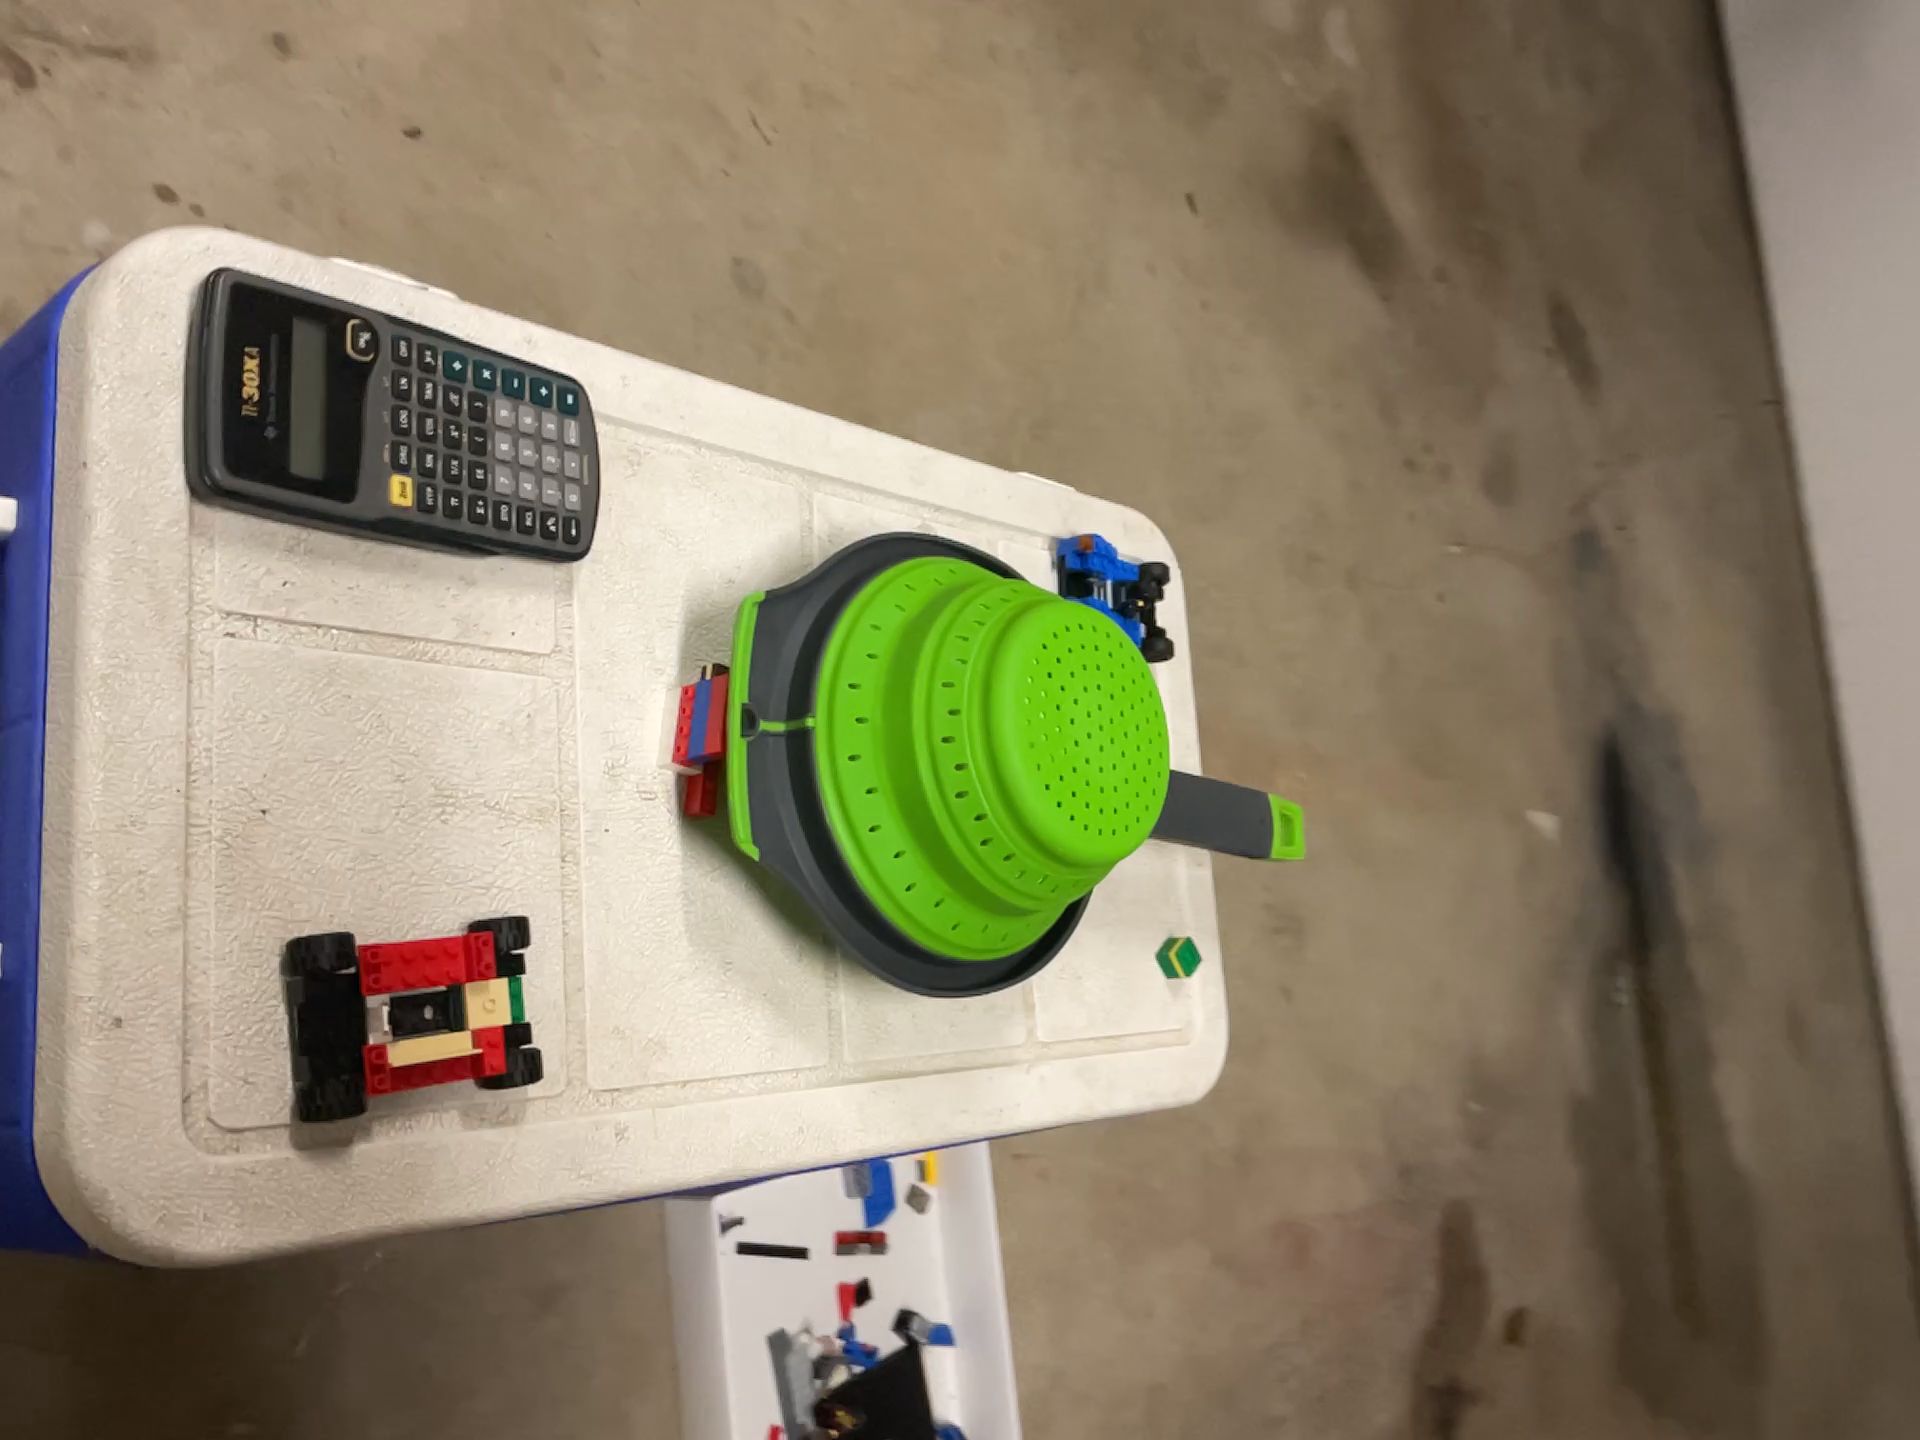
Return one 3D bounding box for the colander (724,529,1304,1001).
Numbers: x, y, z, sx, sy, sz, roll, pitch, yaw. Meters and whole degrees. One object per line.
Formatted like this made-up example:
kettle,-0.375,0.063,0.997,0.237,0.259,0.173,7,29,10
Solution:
colander,0.076,0.024,0.721,0.397,0.094,0.205,14,71,-45
